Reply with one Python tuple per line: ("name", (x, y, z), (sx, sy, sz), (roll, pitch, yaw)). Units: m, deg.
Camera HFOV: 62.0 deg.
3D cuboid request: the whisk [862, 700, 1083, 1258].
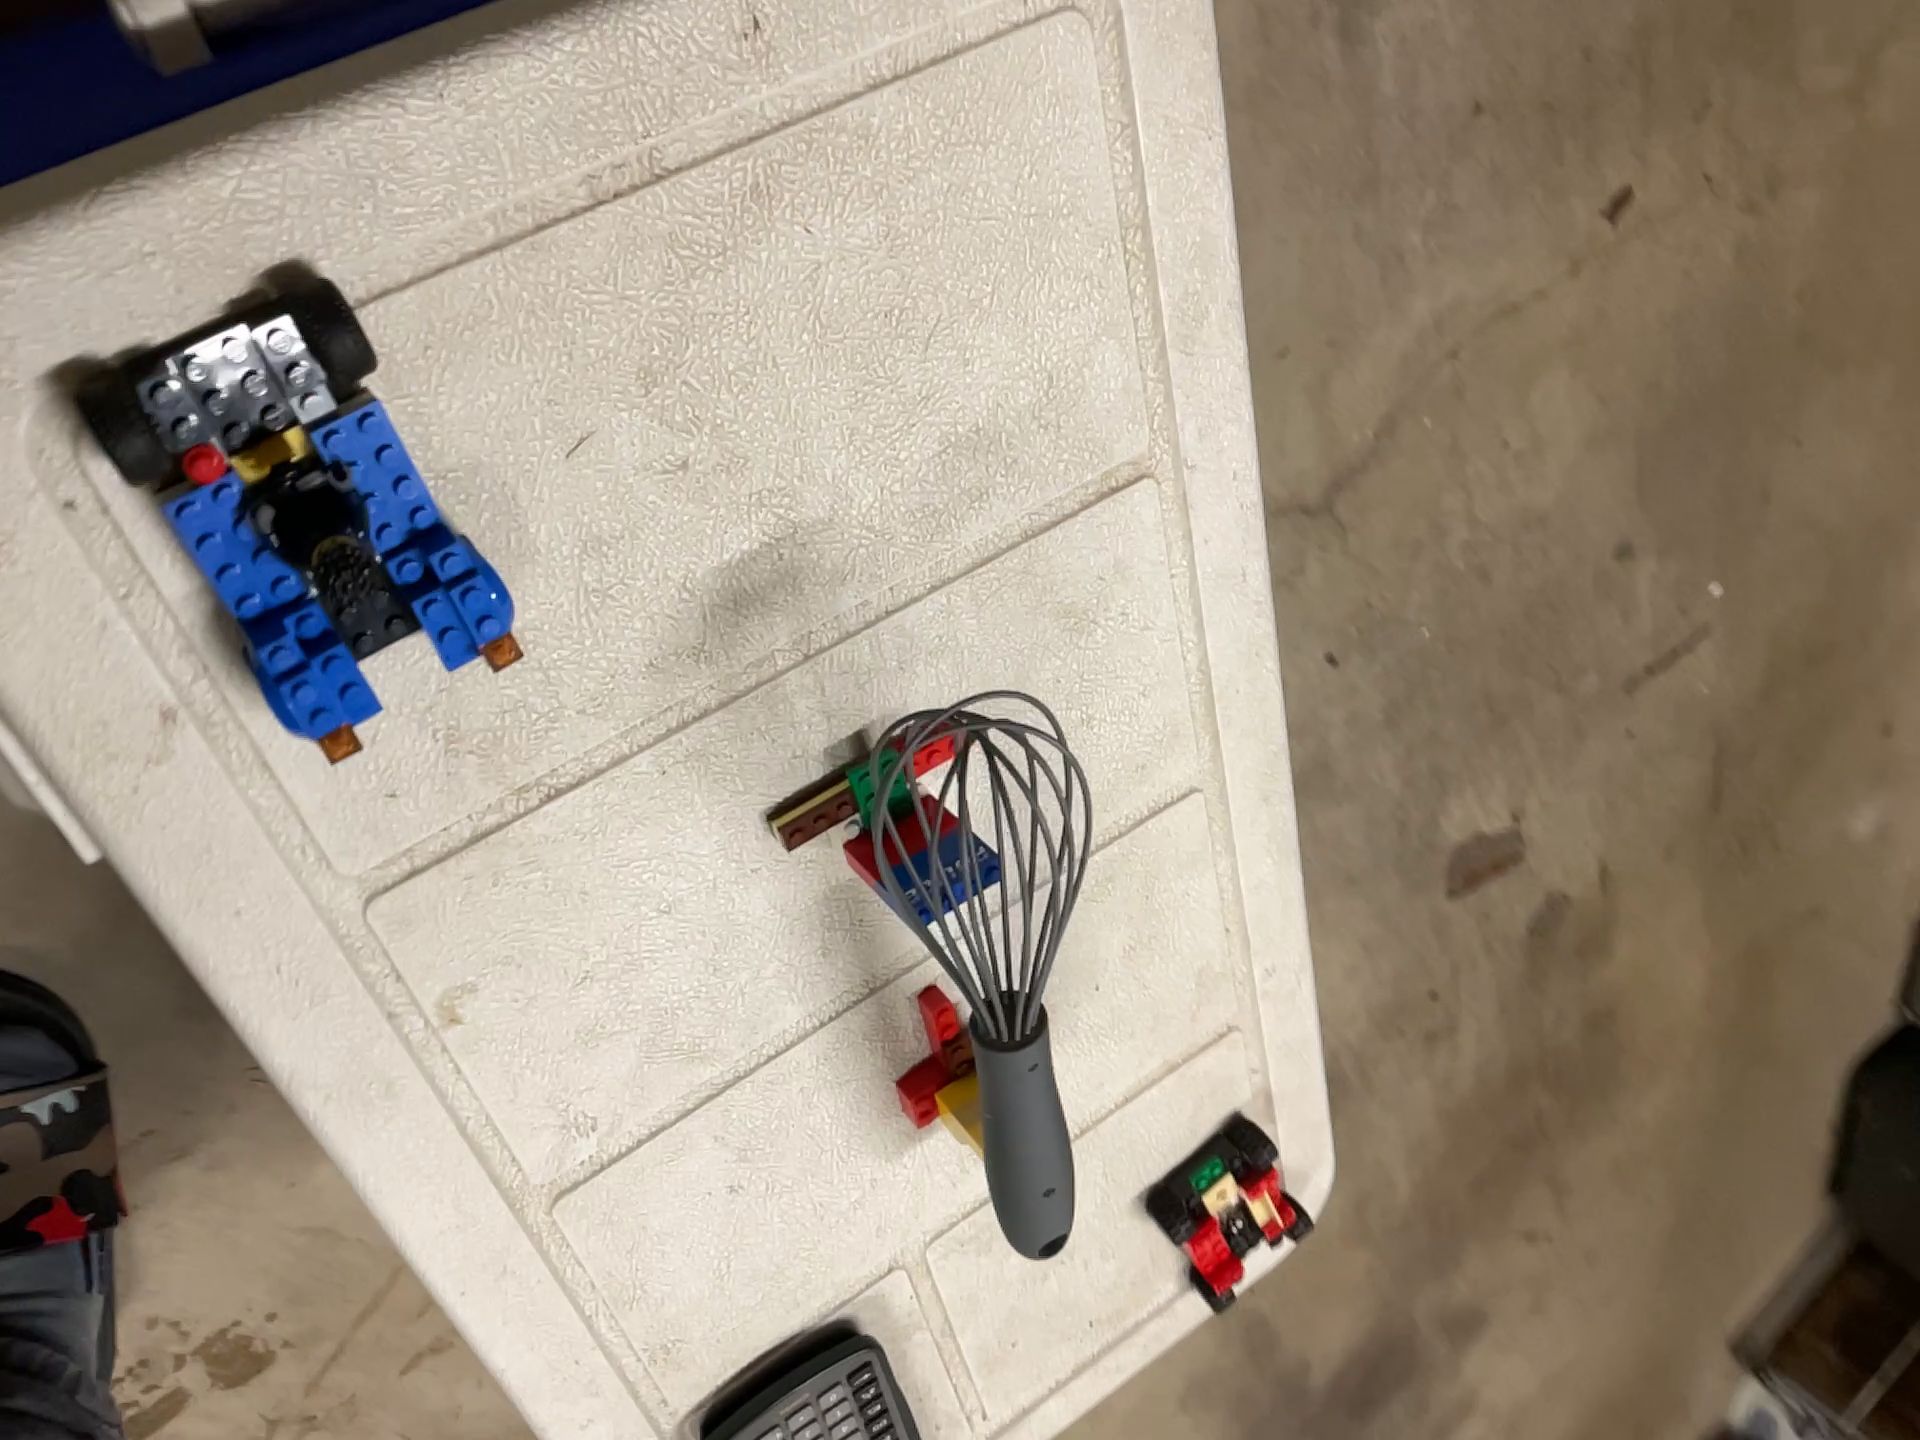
("whisk", (0.011, 0.087, 0.458), (0.055, 0.055, 0.239), (-26, 134, -20))
